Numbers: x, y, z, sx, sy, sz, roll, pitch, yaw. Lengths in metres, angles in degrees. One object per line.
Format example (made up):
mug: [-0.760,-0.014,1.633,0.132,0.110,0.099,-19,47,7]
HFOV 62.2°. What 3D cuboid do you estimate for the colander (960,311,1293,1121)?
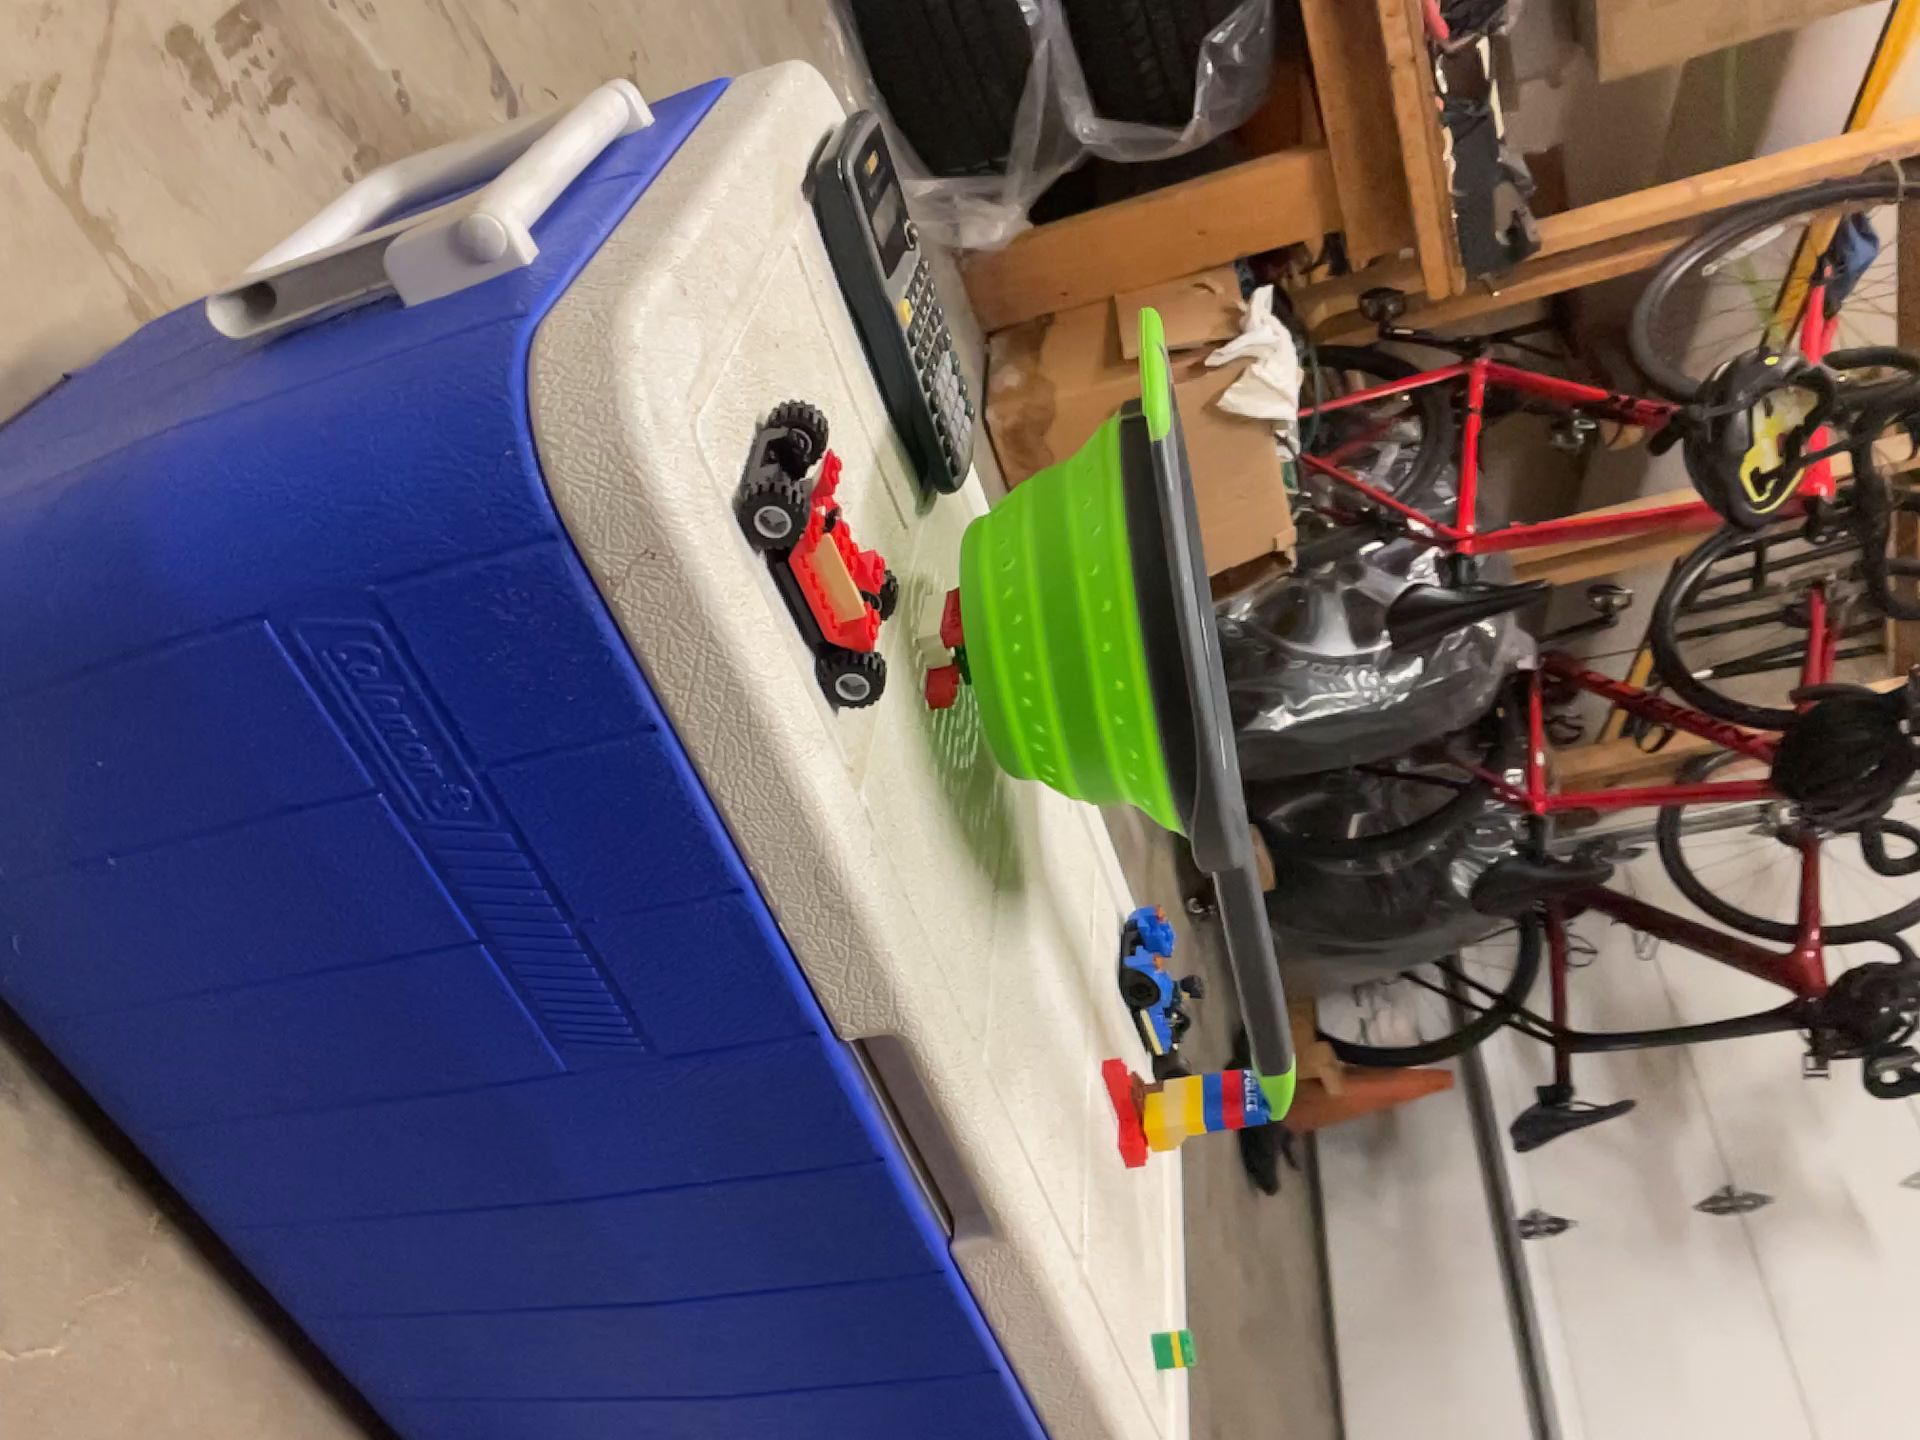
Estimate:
colander: [0.075,0.032,0.690,0.205,0.094,0.396,-84,161,-57]
